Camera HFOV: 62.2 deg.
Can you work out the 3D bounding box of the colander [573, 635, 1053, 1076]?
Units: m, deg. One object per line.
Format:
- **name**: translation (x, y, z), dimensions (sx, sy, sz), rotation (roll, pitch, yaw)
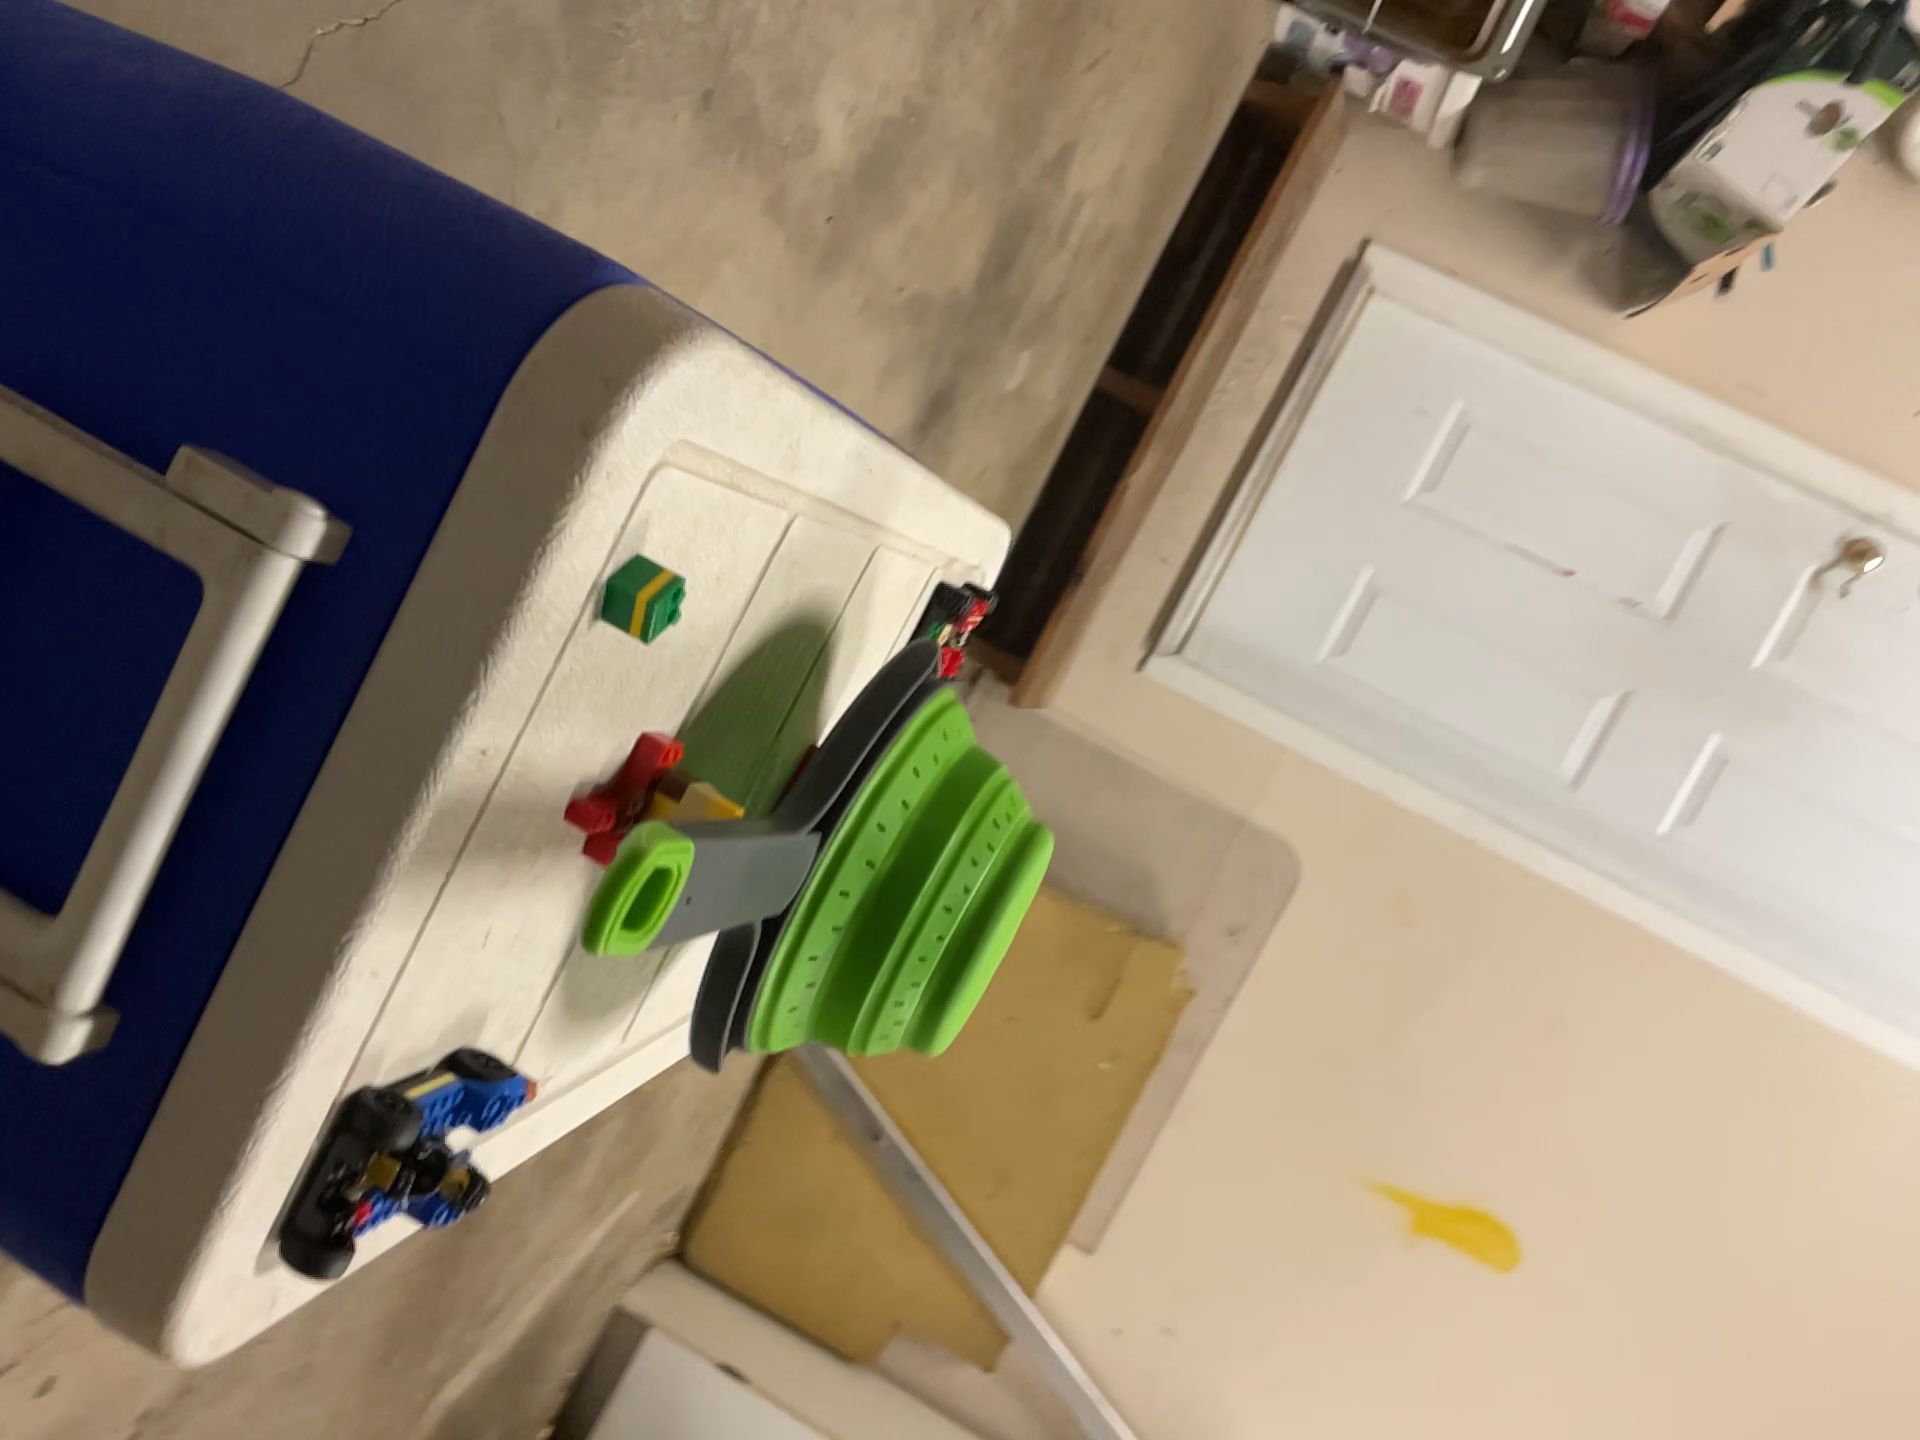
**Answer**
- **colander**: translation (-0.034, 0.070, 0.591), dimensions (0.204, 0.094, 0.397), rotation (-62, 172, 1)
